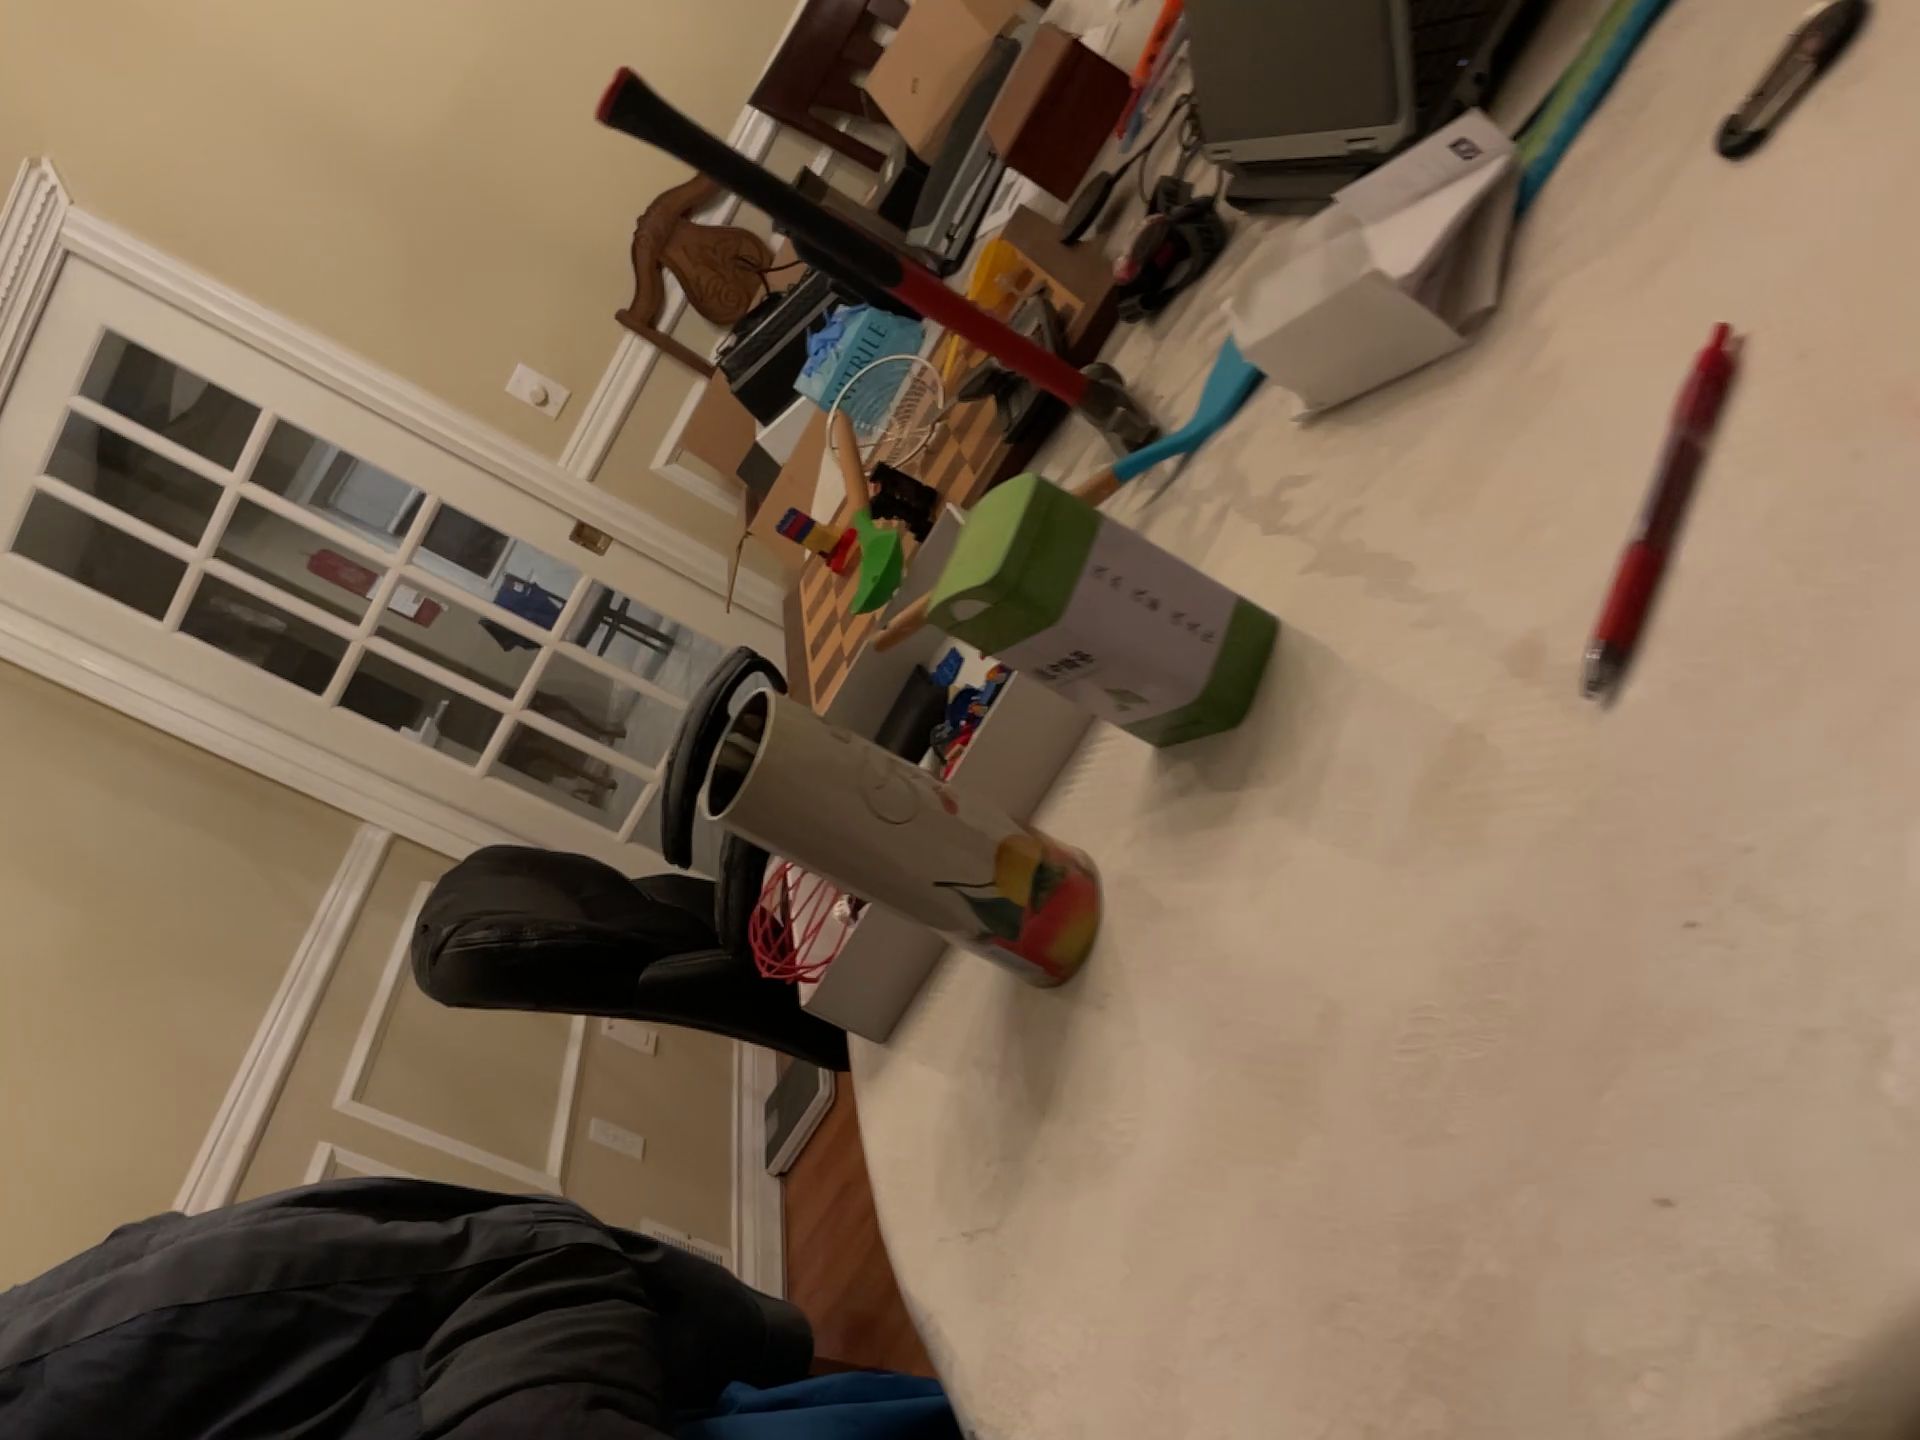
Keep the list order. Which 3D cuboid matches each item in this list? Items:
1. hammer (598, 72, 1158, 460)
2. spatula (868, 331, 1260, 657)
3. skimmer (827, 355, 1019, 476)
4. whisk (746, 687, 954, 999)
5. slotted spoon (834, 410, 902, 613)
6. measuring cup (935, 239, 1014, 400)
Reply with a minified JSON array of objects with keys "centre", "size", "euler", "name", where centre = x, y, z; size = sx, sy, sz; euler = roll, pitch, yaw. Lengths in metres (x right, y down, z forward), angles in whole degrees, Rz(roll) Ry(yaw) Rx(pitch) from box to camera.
[{"centre":[-0.045,-0.278,0.990],"size":[0.038,0.386,0.143],"euler":[-56,18,18],"name":"hammer"},{"centre":[0.066,-0.138,0.945],"size":[0.317,0.044,0.082],"euler":[-35,26,13],"name":"spatula"},{"centre":[-0.035,-0.283,1.362],"size":[0.127,0.090,0.363],"euler":[-62,13,-7],"name":"skimmer"},{"centre":[-0.057,0.065,1.006],"size":[0.073,0.073,0.296],"euler":[-25,23,34],"name":"whisk"},{"centre":[-0.082,-0.181,1.299],"size":[0.070,0.031,0.314],"euler":[-55,27,27],"name":"slotted spoon"},{"centre":[0.013,-0.375,1.508],"size":[0.062,0.029,0.156],"euler":[-113,40,-64],"name":"measuring cup"}]
